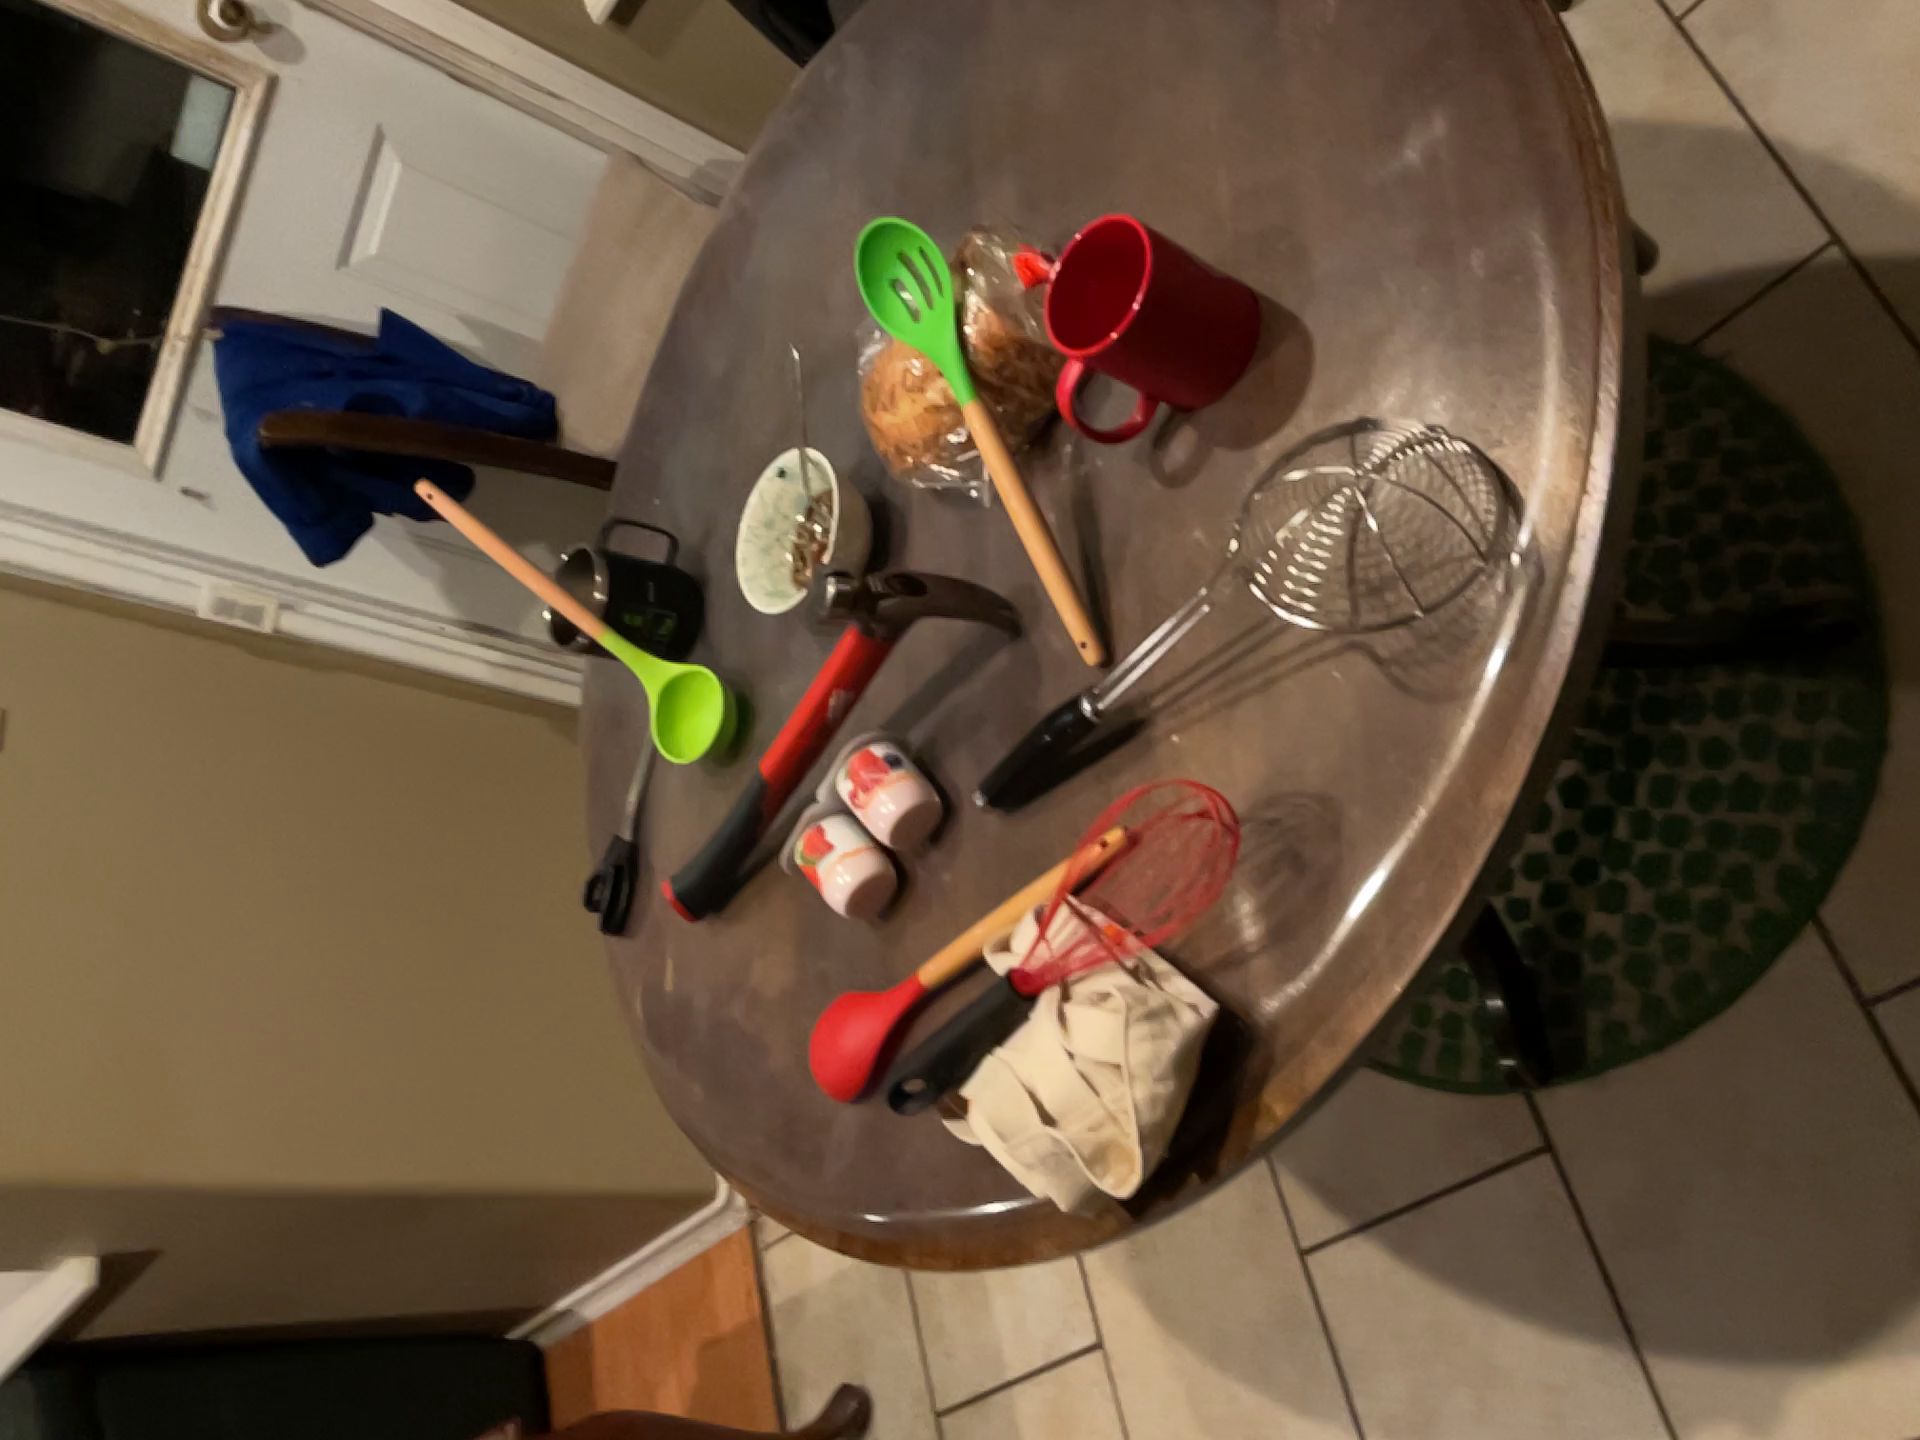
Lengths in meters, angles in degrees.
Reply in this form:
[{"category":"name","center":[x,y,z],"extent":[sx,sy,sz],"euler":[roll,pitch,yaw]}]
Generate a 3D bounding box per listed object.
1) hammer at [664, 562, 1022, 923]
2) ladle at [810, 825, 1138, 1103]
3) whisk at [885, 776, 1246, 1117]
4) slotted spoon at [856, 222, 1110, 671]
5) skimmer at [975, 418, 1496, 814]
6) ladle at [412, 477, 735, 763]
[{"category":"hammer","center":[-0.106,0.031,1.109],"extent":[0.386,0.143,0.038],"euler":[-52,43,42]},{"category":"ladle","center":[-0.002,0.152,0.990],"extent":[0.315,0.031,0.069],"euler":[-41,51,32]},{"category":"whisk","center":[0.047,0.134,0.861],"extent":[0.296,0.073,0.073],"euler":[-48,48,30]},{"category":"slotted spoon","center":[0.018,-0.171,0.981],"extent":[0.070,0.031,0.314],"euler":[-35,77,43]},{"category":"skimmer","center":[0.134,-0.033,0.884],"extent":[0.363,0.090,0.127],"euler":[-45,40,45]},{"category":"ladle","center":[-0.307,-0.083,1.243],"extent":[0.078,0.320,0.062],"euler":[-50,2,12]}]
